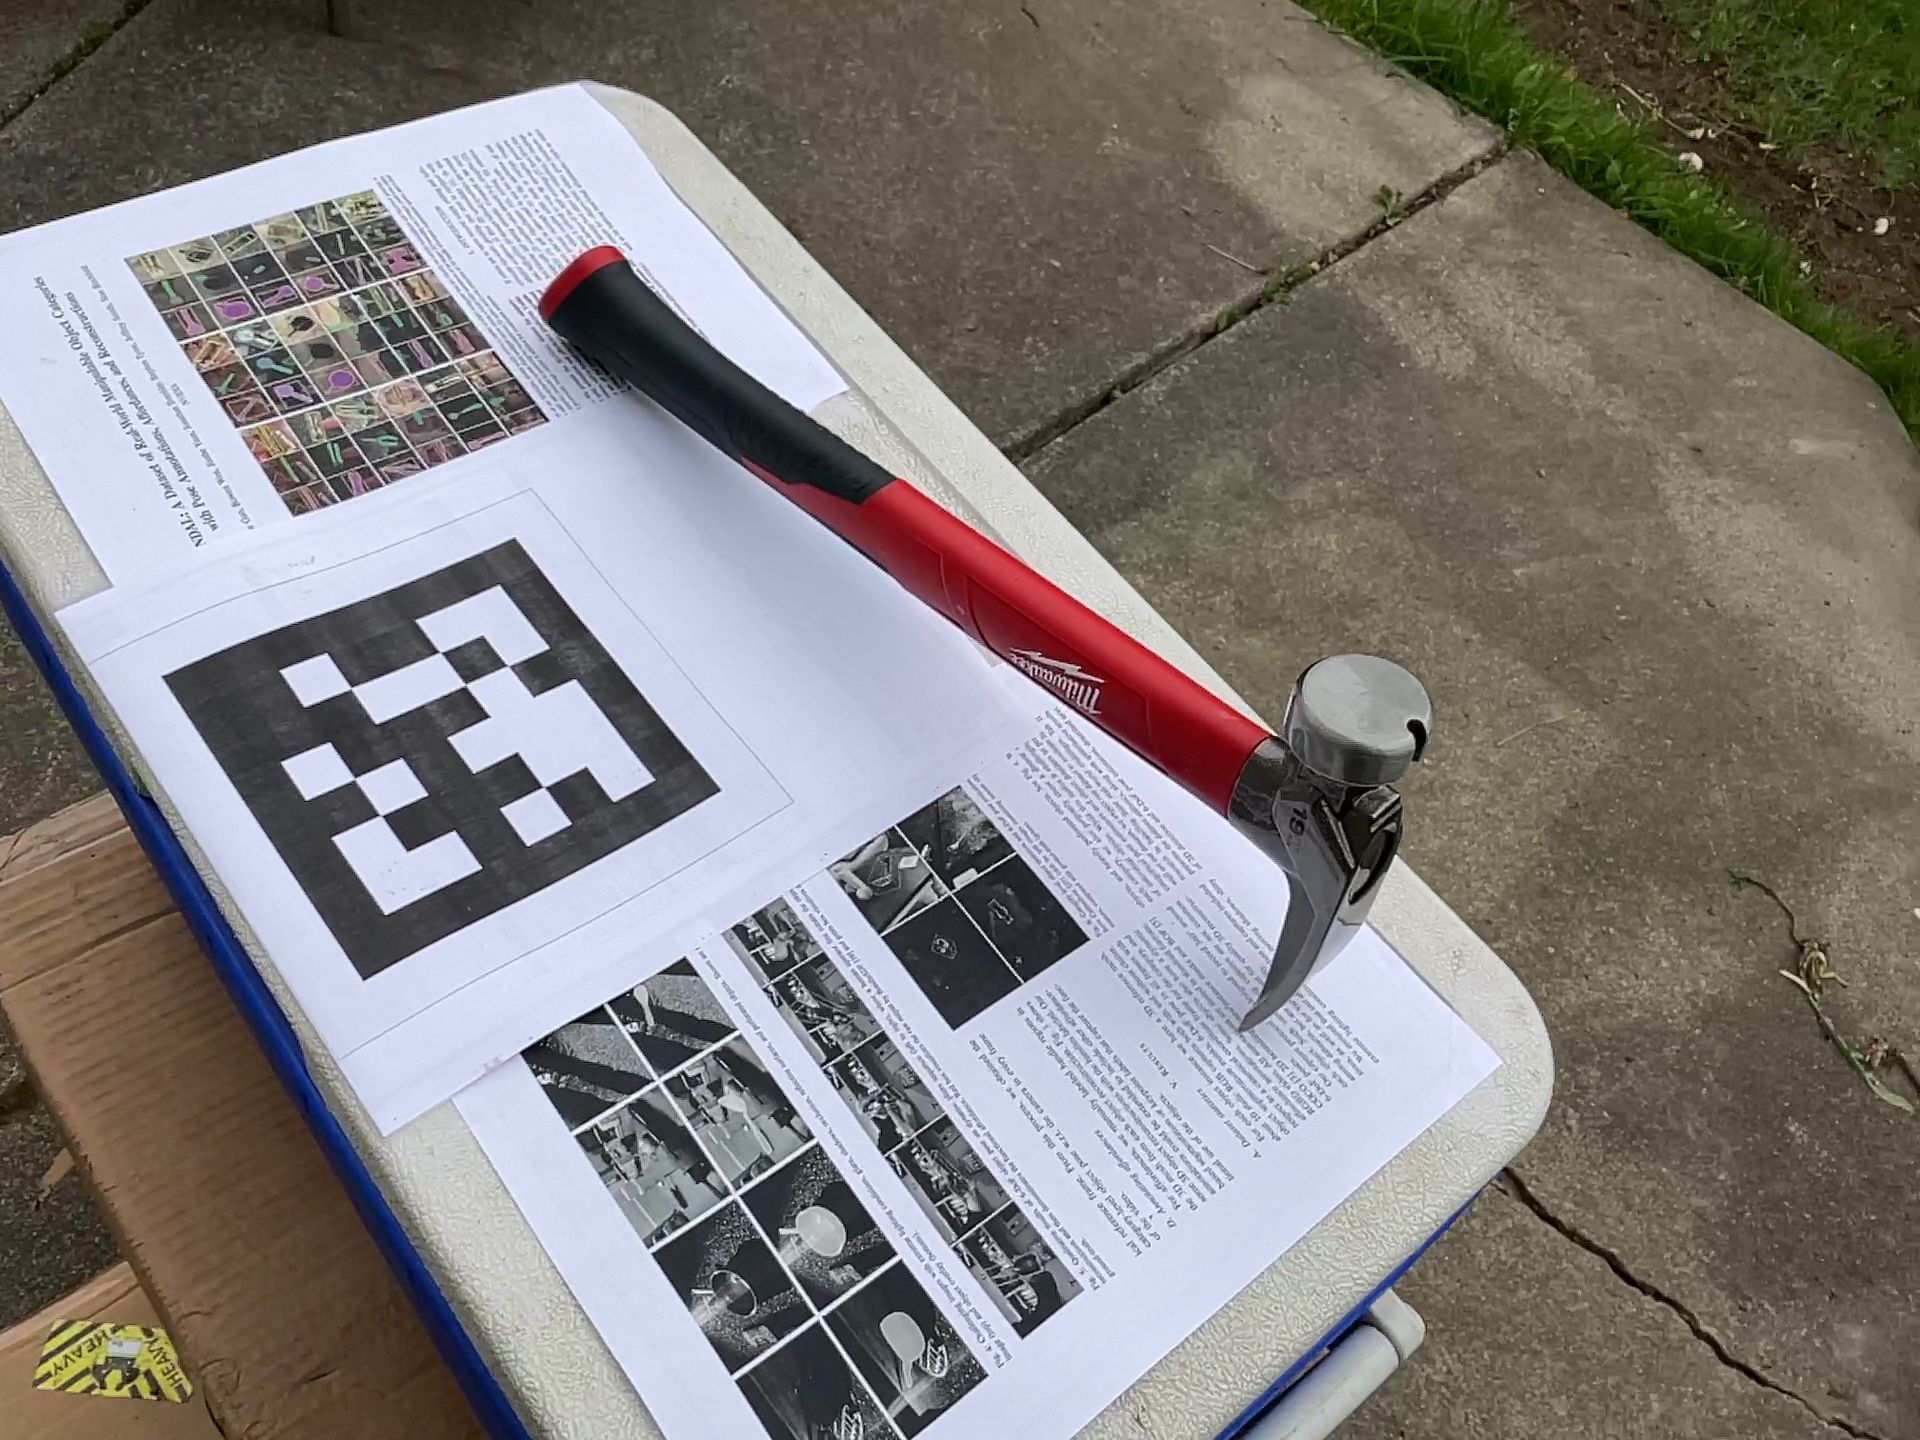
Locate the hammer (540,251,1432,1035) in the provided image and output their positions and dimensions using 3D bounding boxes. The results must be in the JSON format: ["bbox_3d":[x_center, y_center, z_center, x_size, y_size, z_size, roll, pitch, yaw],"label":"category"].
[{"bbox_3d":[-0.019,-0.051,0.558,0.038,0.143,0.386,-33,57,-31],"label":"hammer"}]
